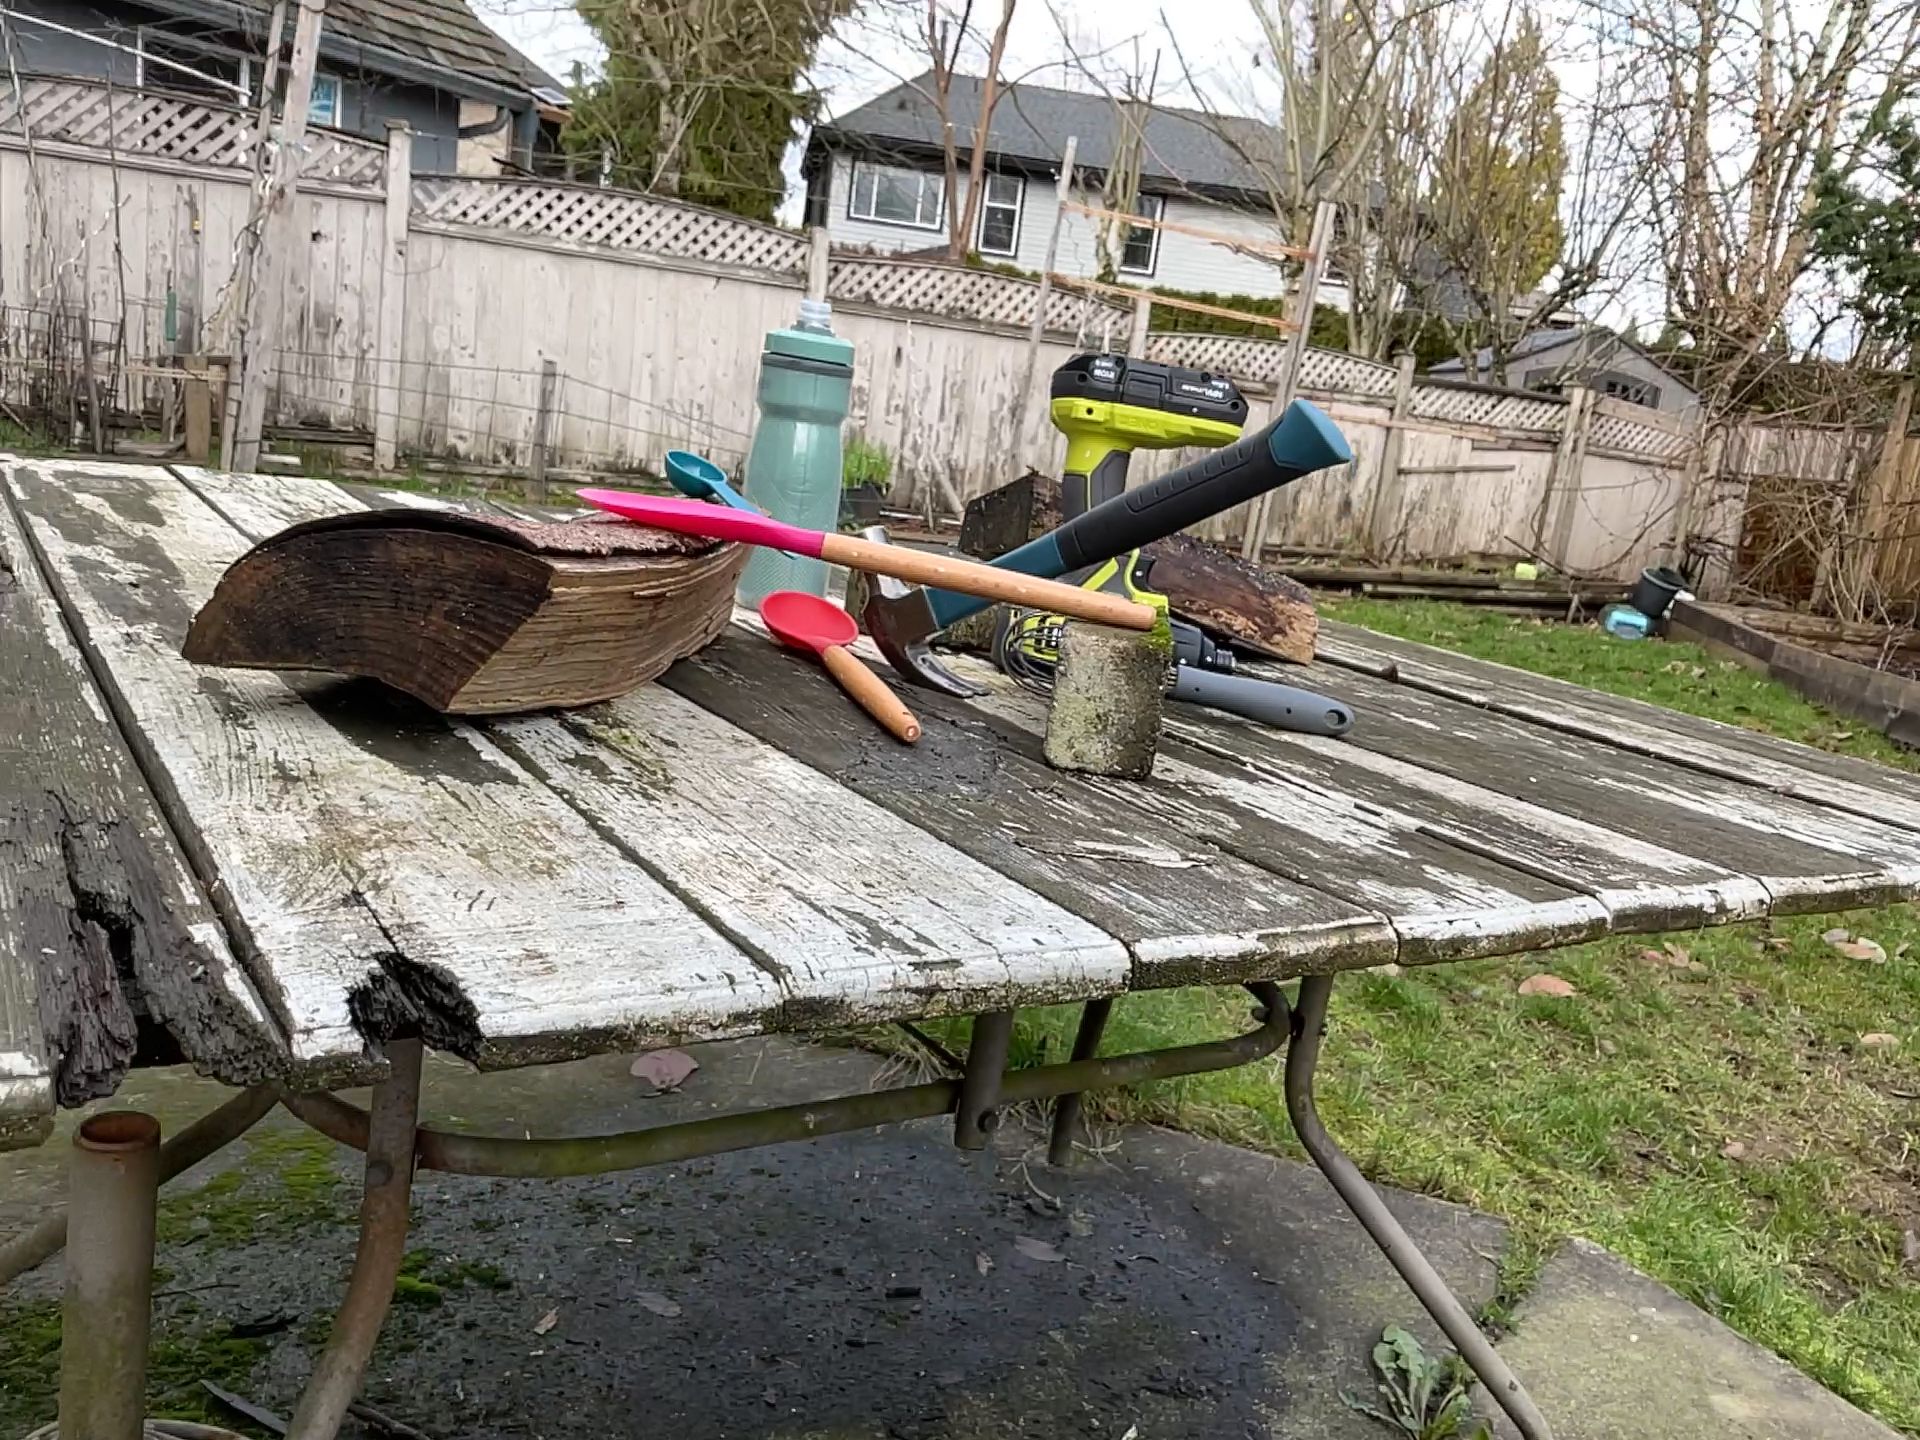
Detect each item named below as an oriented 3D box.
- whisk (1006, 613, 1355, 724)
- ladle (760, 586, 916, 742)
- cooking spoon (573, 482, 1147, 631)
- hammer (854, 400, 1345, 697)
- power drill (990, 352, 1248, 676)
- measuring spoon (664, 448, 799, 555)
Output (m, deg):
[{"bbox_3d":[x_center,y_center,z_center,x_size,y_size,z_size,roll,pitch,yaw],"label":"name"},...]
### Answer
[{"bbox_3d":[0.147,-0.030,1.054,0.239,0.055,0.055,11,19,-4],"label":"whisk"},{"bbox_3d":[-0.072,-0.037,0.995,0.069,0.031,0.316,7,14,-19],"label":"ladle"},{"bbox_3d":[-0.054,-0.091,0.870,0.319,0.017,0.069,13,11,-1],"label":"cooking spoon"},{"bbox_3d":[0.075,-0.109,0.964,0.331,0.128,0.033,-22,-5,34],"label":"hammer"},{"bbox_3d":[0.124,-0.134,1.127,0.171,0.223,0.080,10,4,-2],"label":"power drill"},{"bbox_3d":[-0.148,-0.135,1.029,0.129,0.021,0.042,41,26,28],"label":"measuring spoon"}]
